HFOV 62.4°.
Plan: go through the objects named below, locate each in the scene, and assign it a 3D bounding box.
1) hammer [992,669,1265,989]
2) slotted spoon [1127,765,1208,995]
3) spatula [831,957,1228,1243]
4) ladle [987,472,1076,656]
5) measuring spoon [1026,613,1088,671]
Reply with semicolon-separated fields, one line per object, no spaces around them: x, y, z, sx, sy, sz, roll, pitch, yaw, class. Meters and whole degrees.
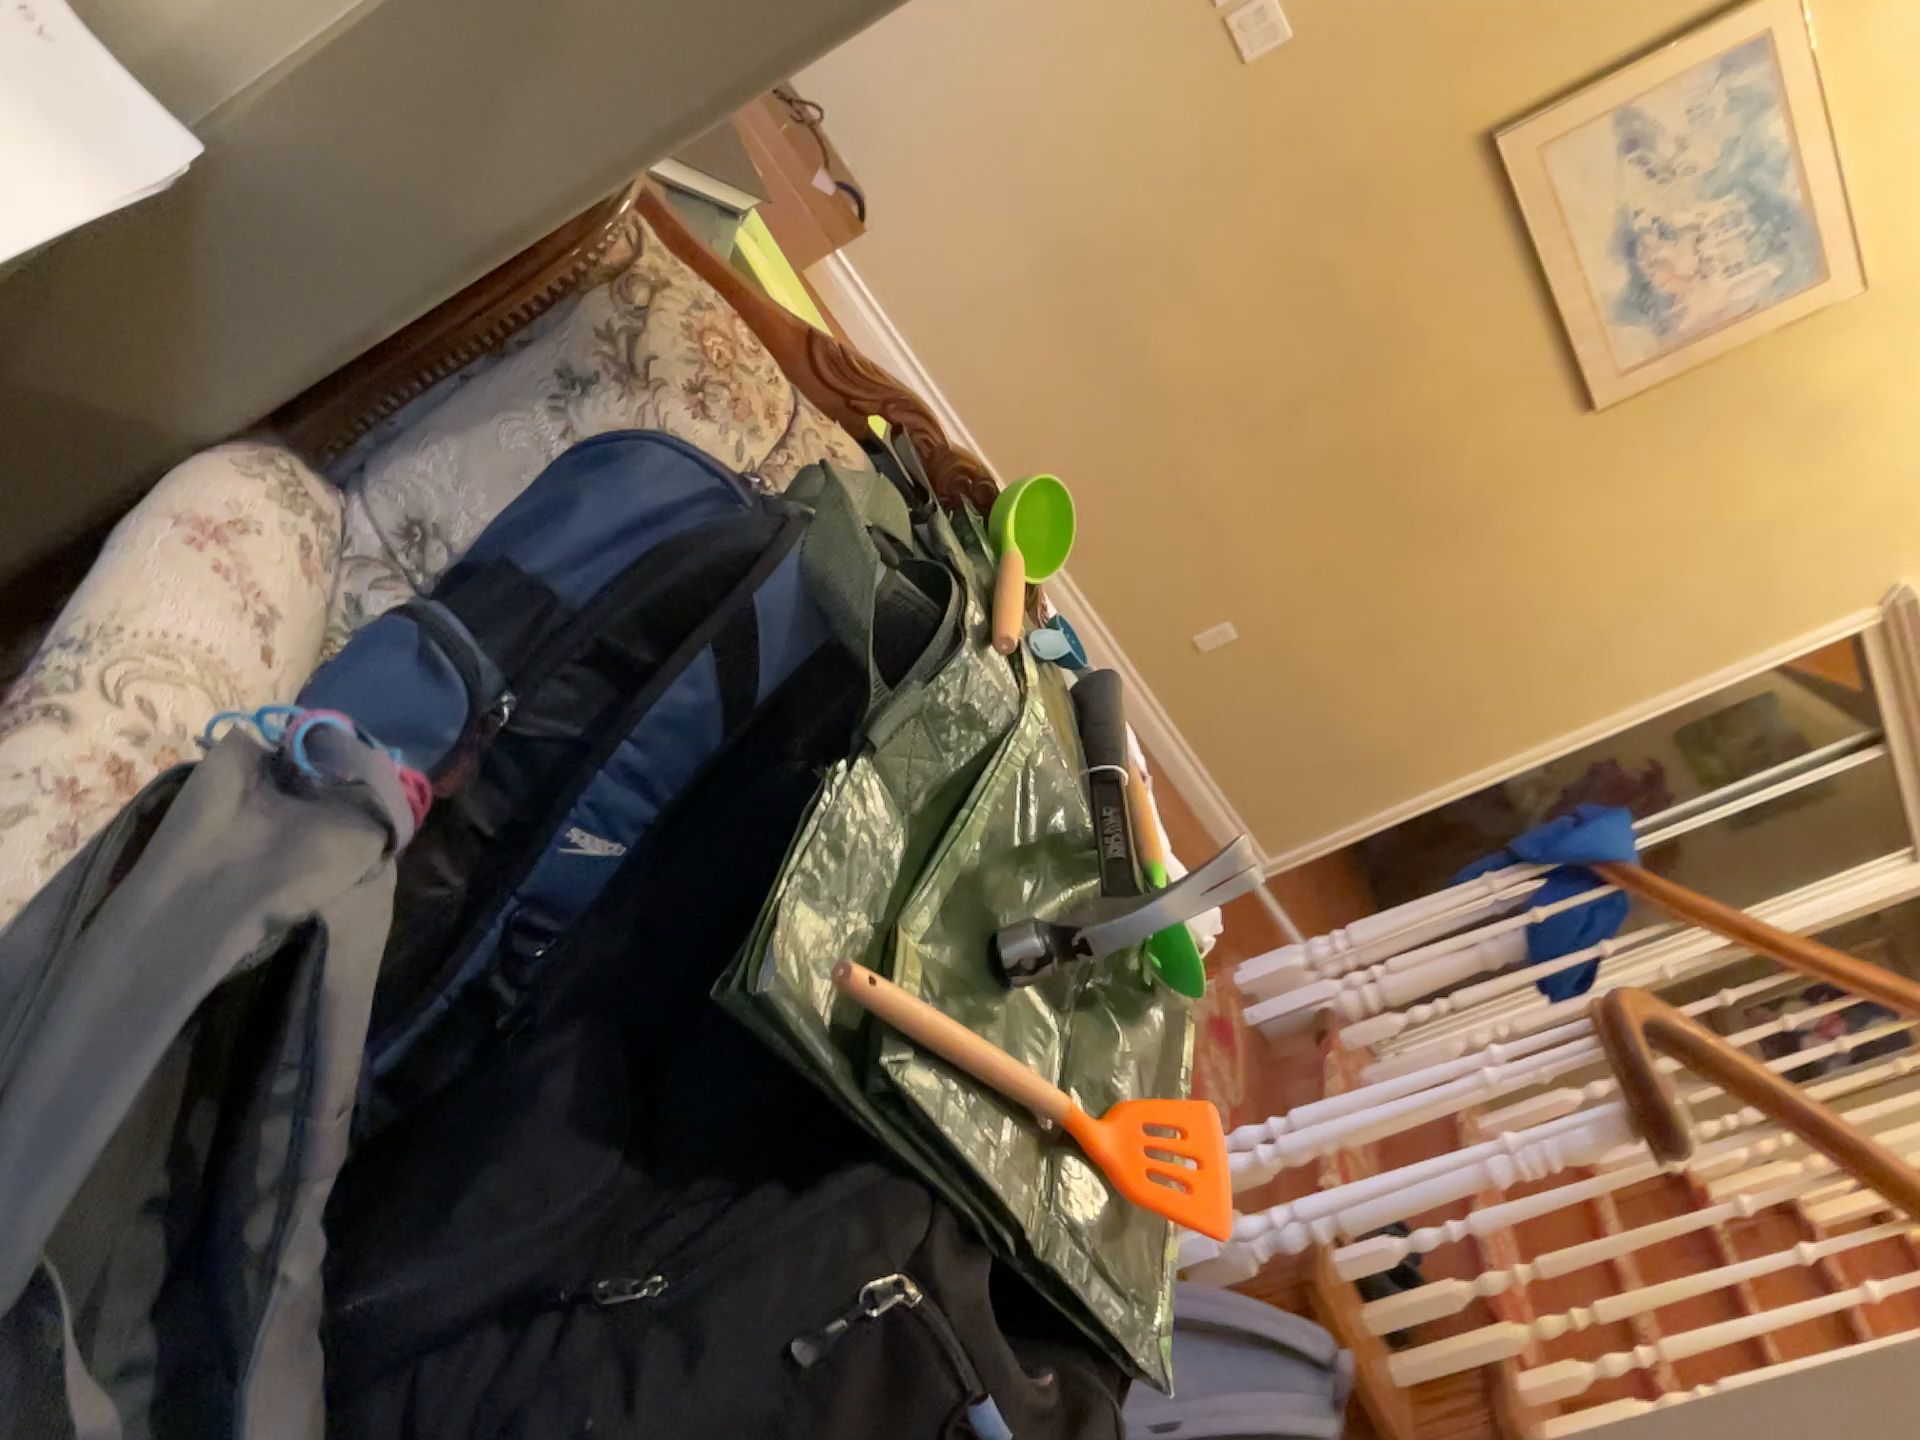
0.100;0.043;1.030;0.409;0.149;0.036;-82;151;-69;hammer
0.130;0.095;1.086;0.314;0.031;0.070;-90;165;-70;slotted spoon
0.044;0.186;0.801;0.322;0.041;0.081;41;37;-42;spatula
0.044;-0.093;0.996;0.320;0.062;0.078;-80;166;-70;ladle
0.055;-0.046;1.027;0.042;0.021;0.128;63;17;4;measuring spoon
